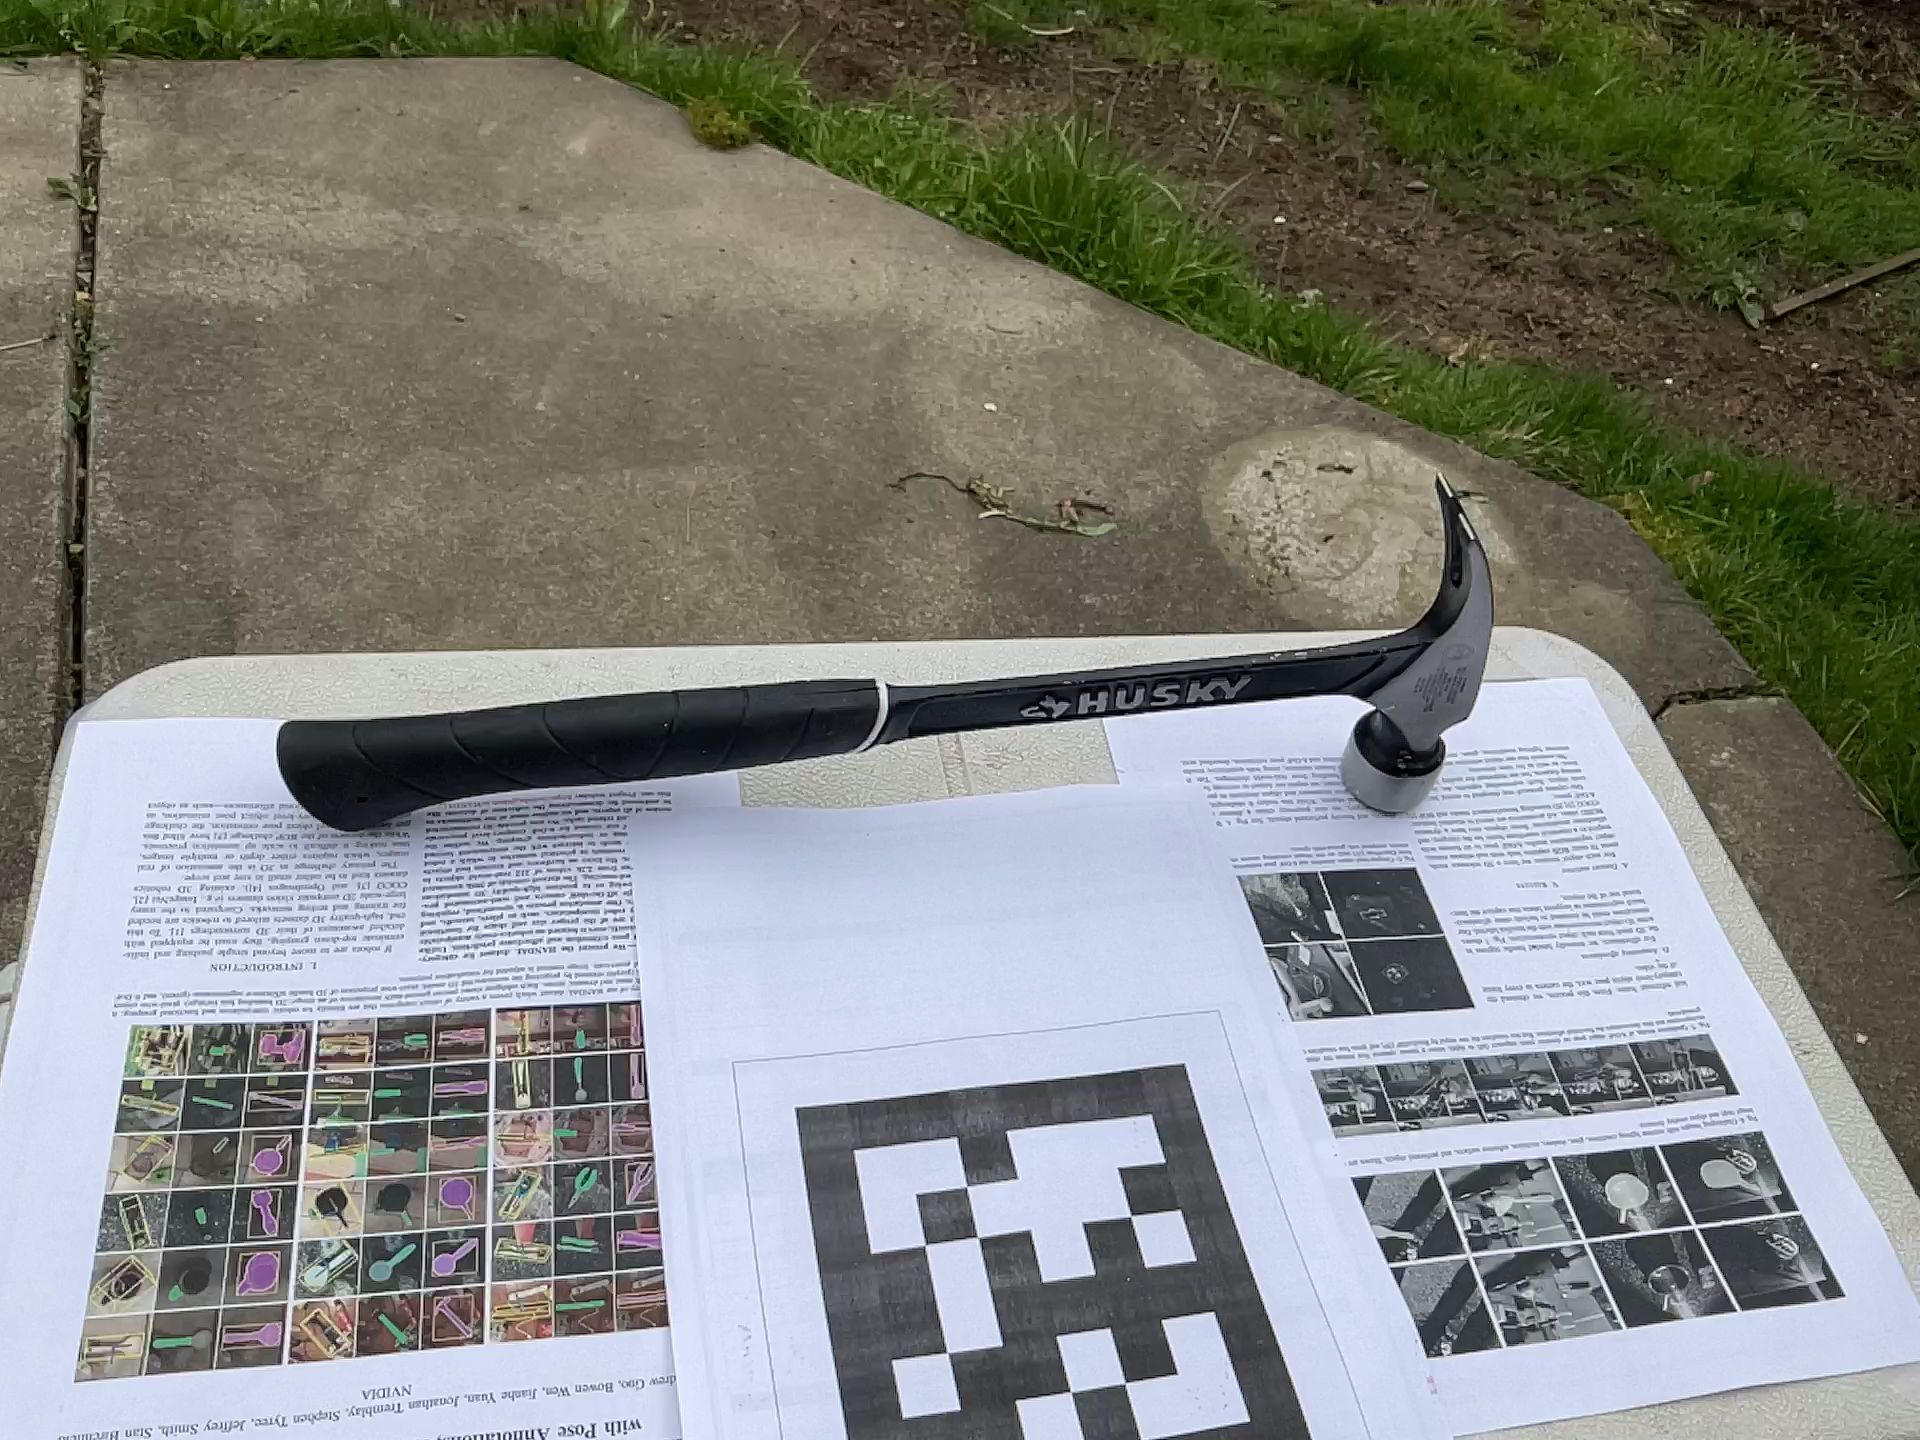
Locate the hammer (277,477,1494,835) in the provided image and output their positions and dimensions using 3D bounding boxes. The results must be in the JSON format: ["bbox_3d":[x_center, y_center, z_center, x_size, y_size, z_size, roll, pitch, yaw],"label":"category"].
[{"bbox_3d":[-0.014,-0.004,0.539,0.408,0.149,0.036,-6,51,-9],"label":"hammer"}]
